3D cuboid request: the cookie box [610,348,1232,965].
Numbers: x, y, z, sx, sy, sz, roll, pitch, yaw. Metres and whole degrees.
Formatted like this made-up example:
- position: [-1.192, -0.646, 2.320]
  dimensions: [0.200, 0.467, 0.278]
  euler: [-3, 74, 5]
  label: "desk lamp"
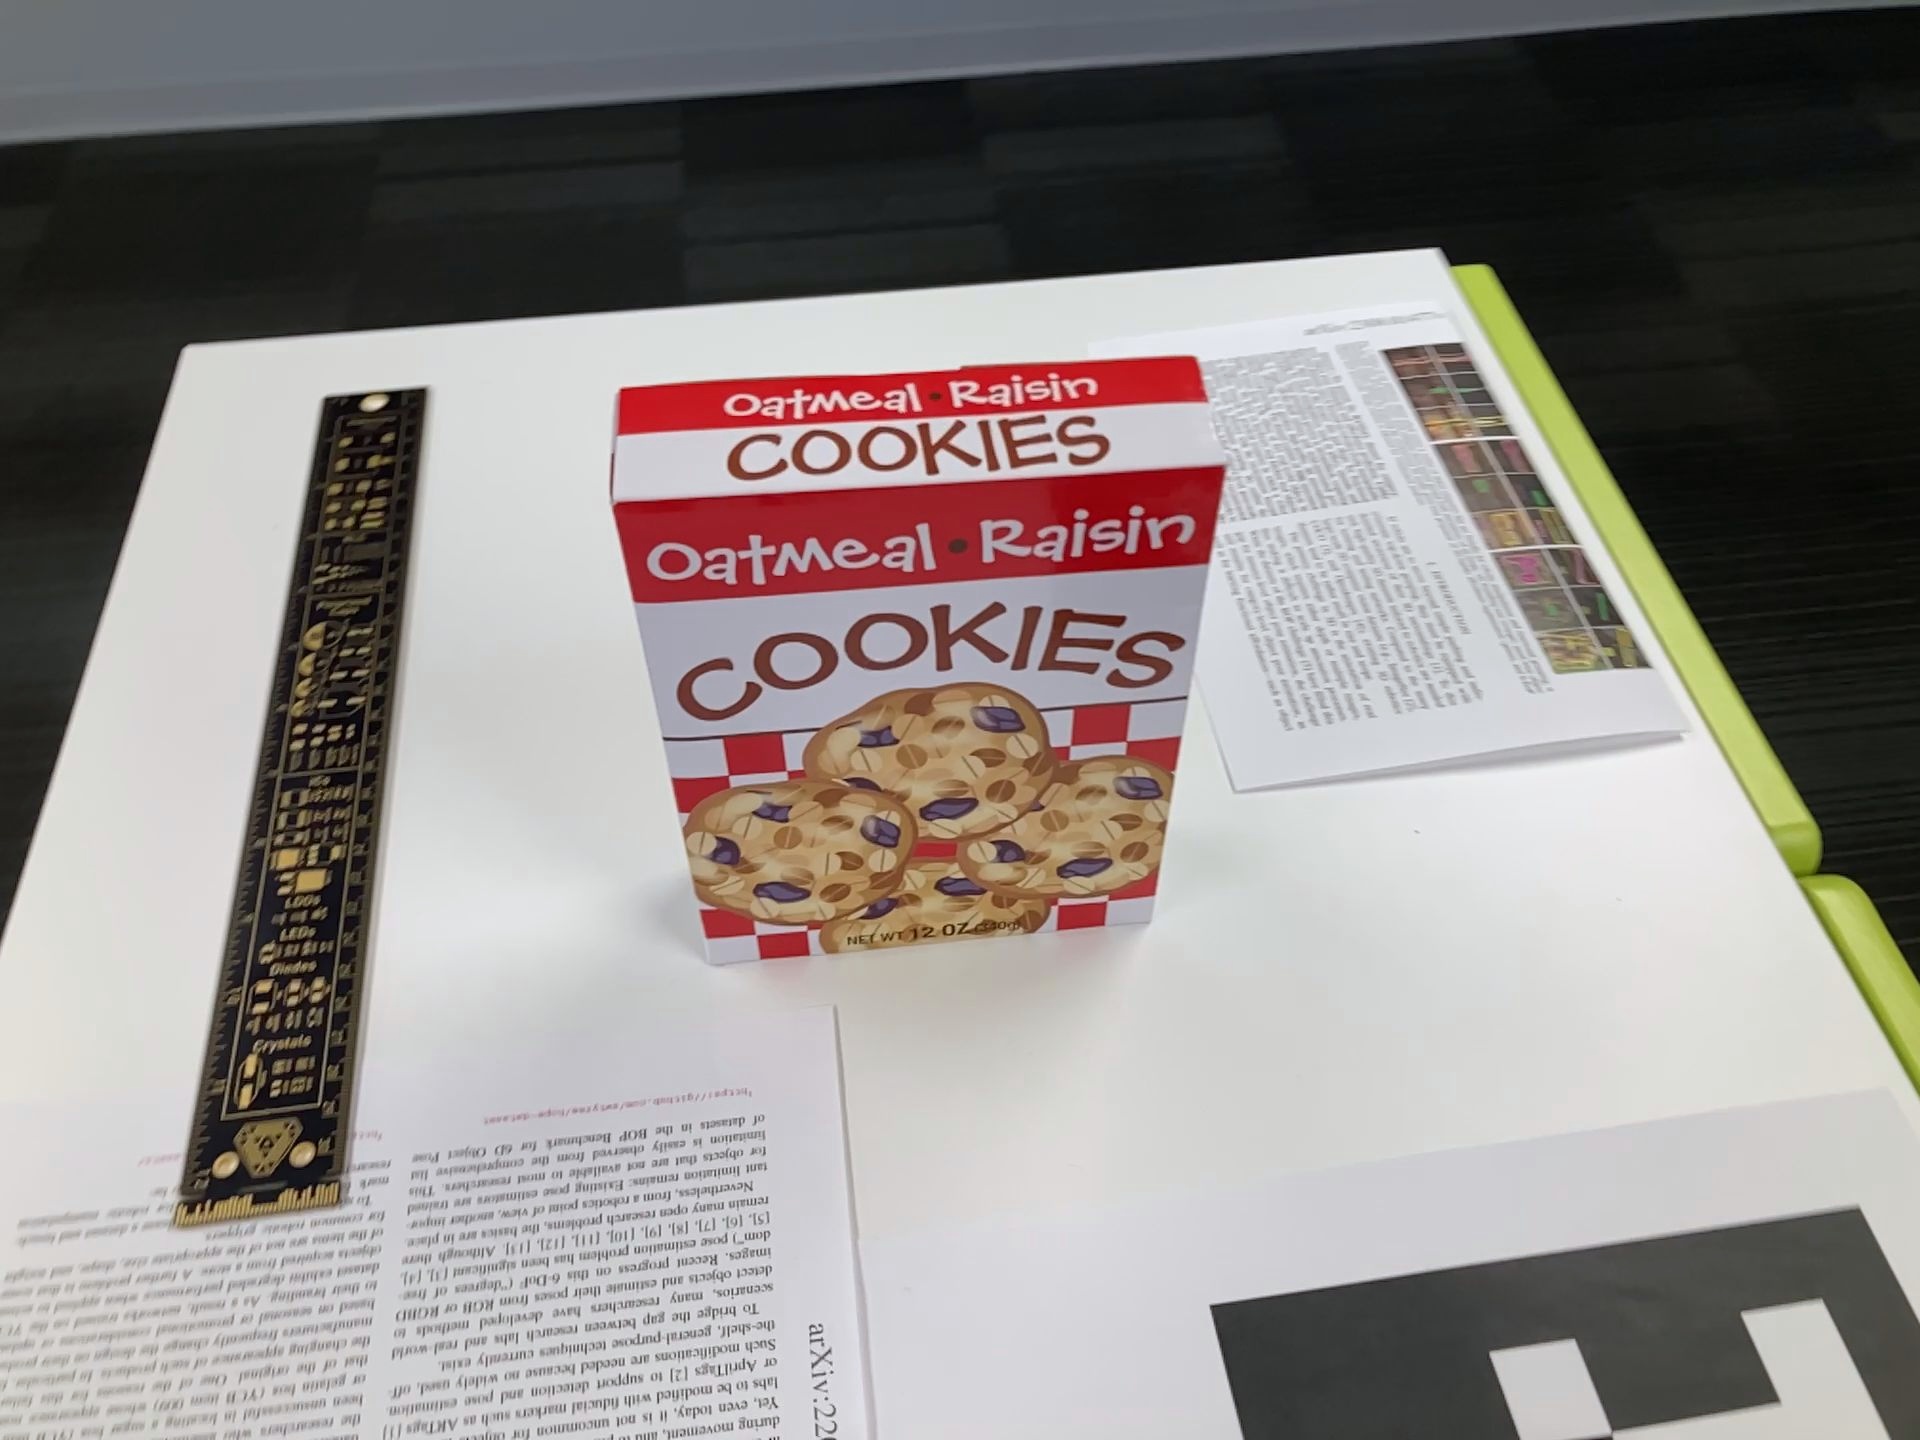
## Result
- position: [-0.009, -0.007, 0.380]
  dimensions: [0.123, 0.167, 0.040]
  euler: [-5, 50, -4]
  label: "cookie box"
